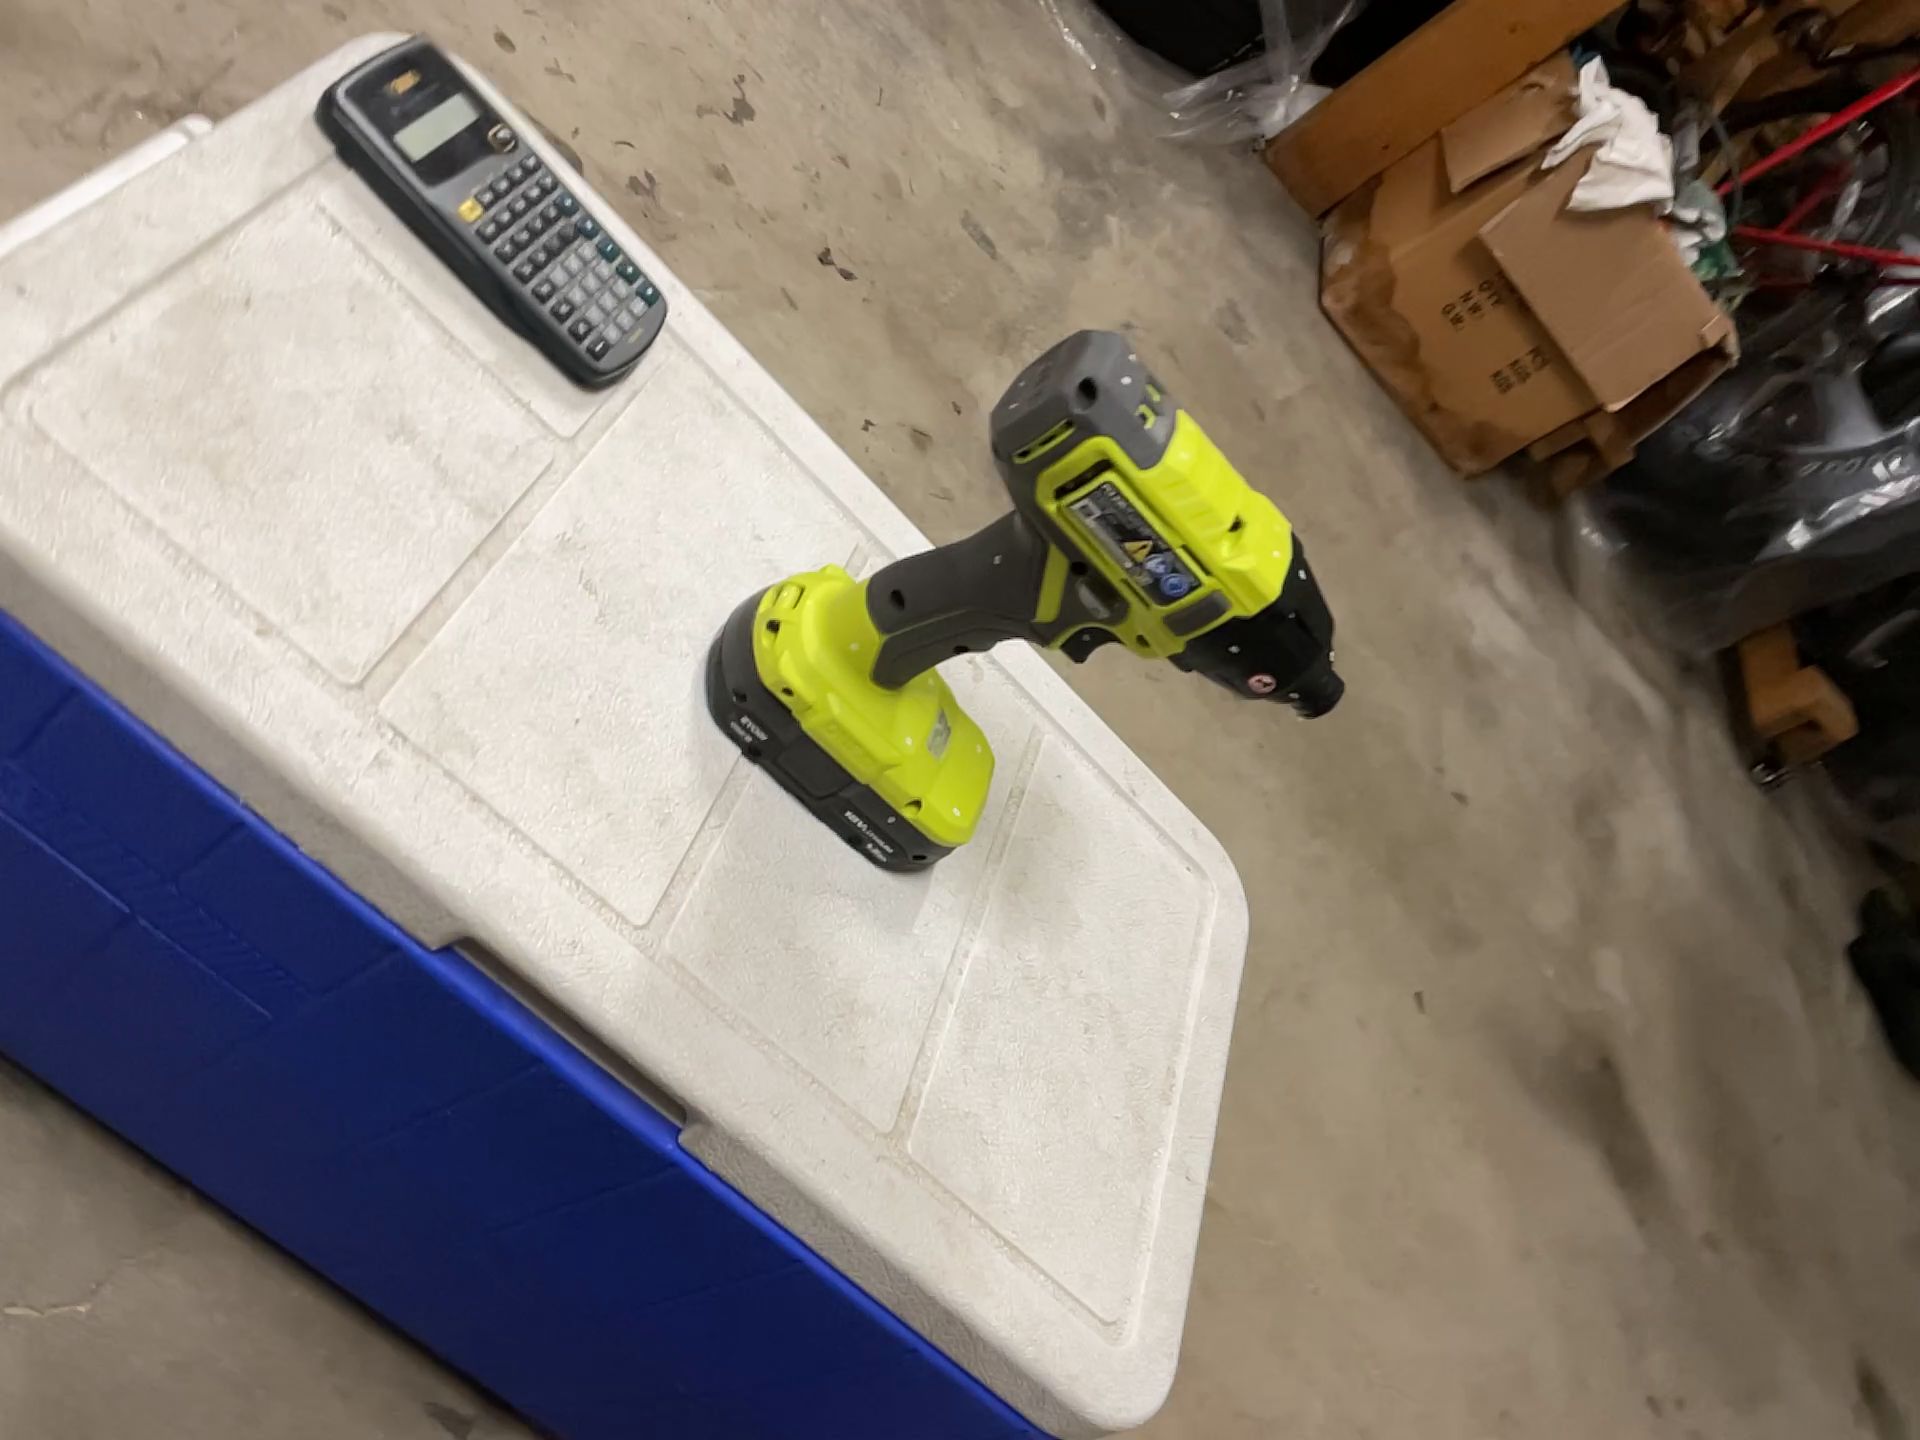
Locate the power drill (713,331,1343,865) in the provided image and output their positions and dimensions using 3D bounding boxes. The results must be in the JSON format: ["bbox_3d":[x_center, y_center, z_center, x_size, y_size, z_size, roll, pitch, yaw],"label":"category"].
[{"bbox_3d":[0.024,-0.030,0.630,0.171,0.223,0.080,44,40,-22],"label":"power drill"}]
